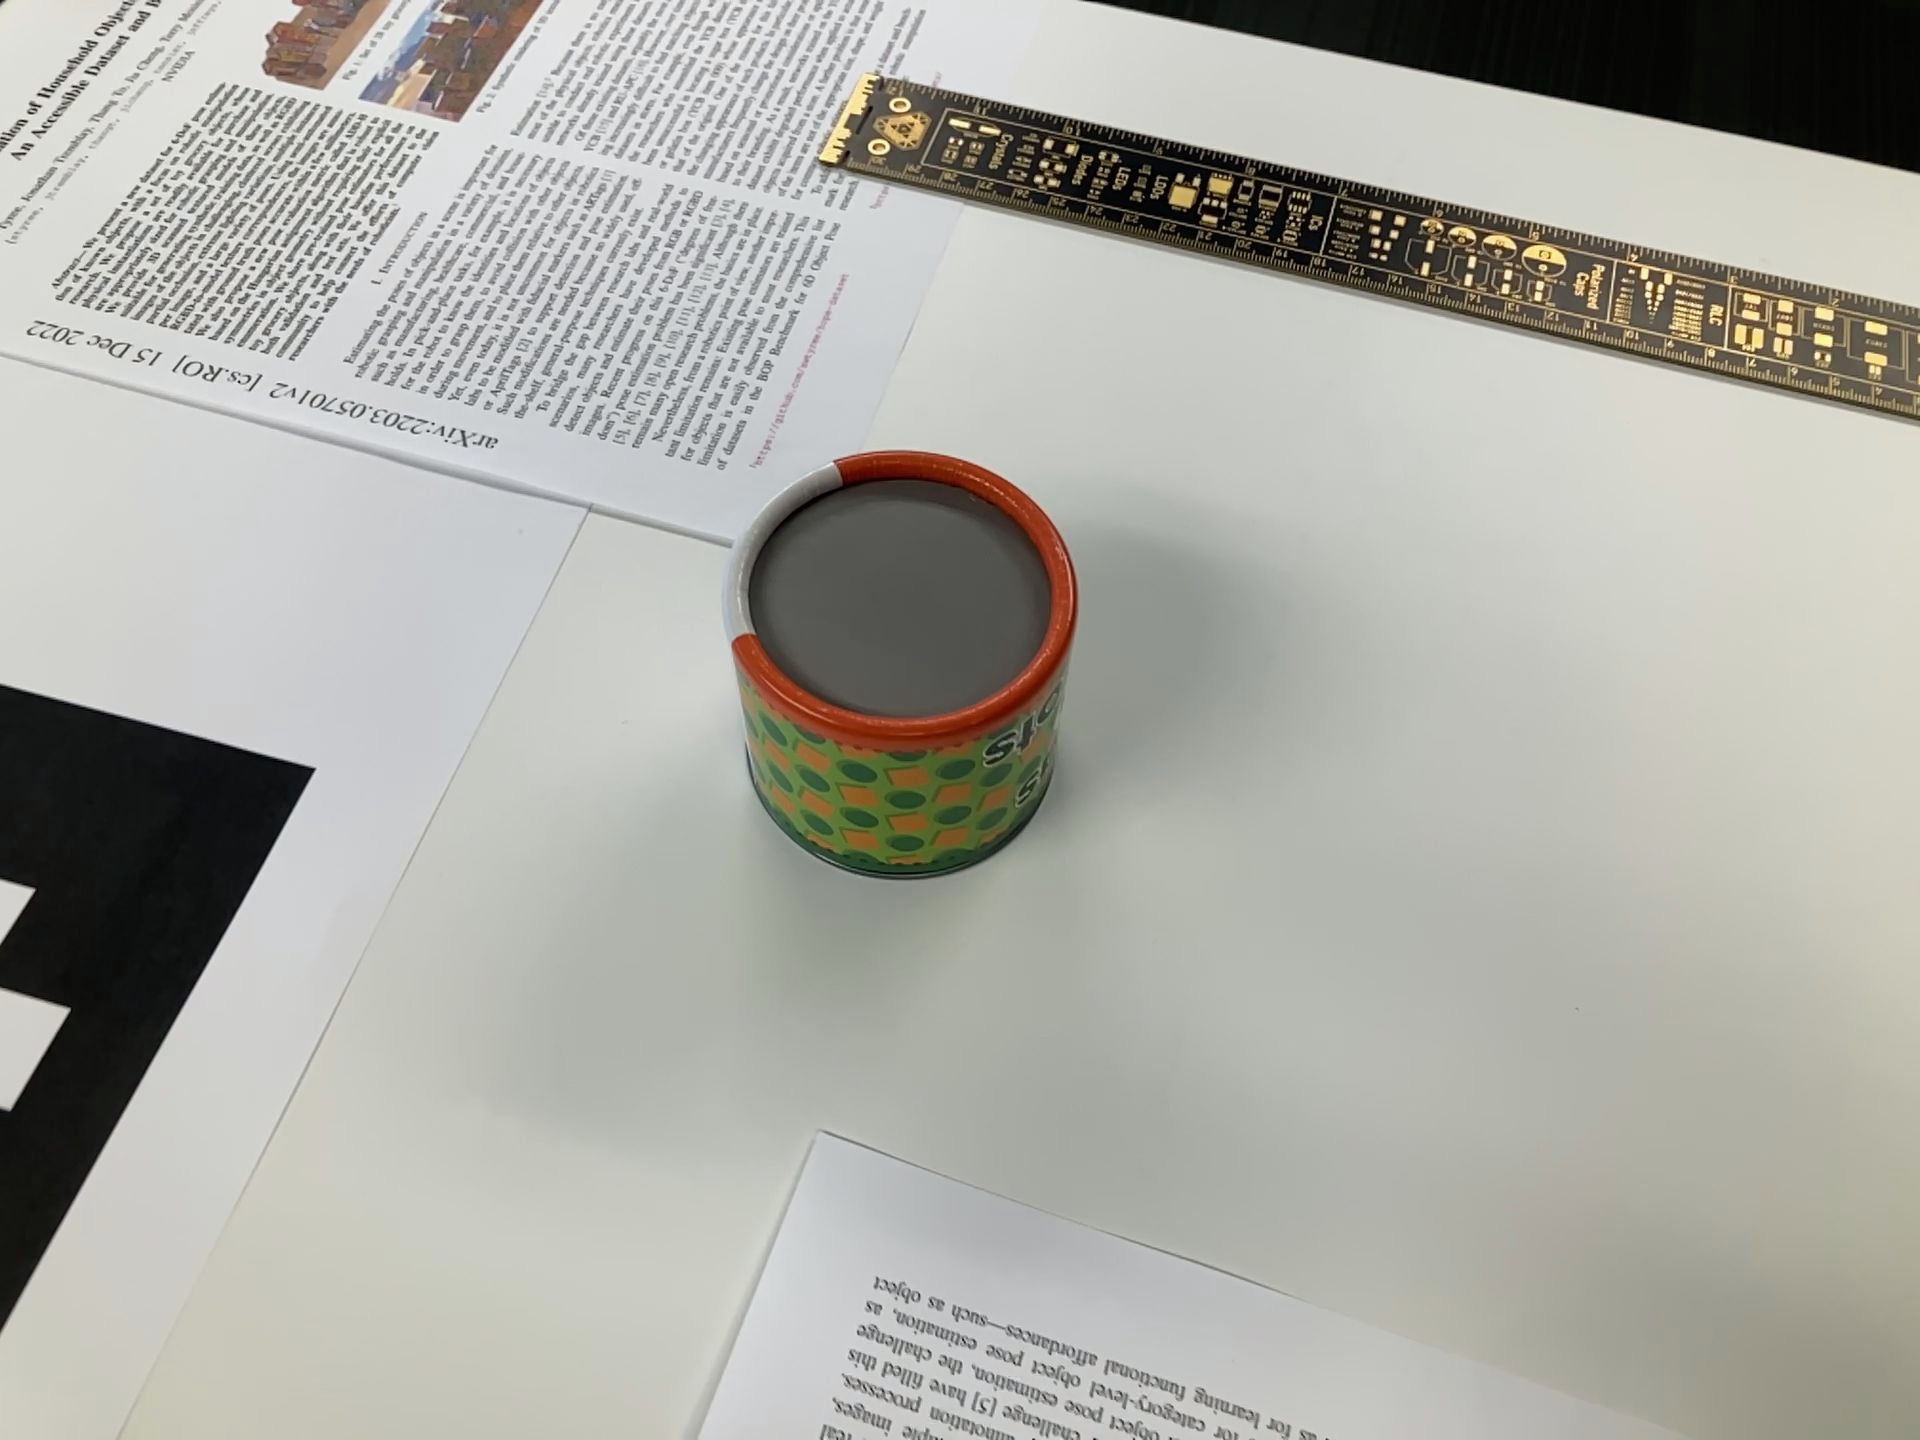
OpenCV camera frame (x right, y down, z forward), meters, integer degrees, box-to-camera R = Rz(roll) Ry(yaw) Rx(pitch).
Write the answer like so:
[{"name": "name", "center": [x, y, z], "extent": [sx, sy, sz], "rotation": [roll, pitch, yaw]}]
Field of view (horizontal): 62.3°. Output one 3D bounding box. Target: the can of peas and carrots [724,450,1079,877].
[{"name": "can of peas and carrots", "center": [-0.009, -0.010, 0.317], "extent": [0.071, 0.059, 0.071], "rotation": [1, 60, -1]}]
